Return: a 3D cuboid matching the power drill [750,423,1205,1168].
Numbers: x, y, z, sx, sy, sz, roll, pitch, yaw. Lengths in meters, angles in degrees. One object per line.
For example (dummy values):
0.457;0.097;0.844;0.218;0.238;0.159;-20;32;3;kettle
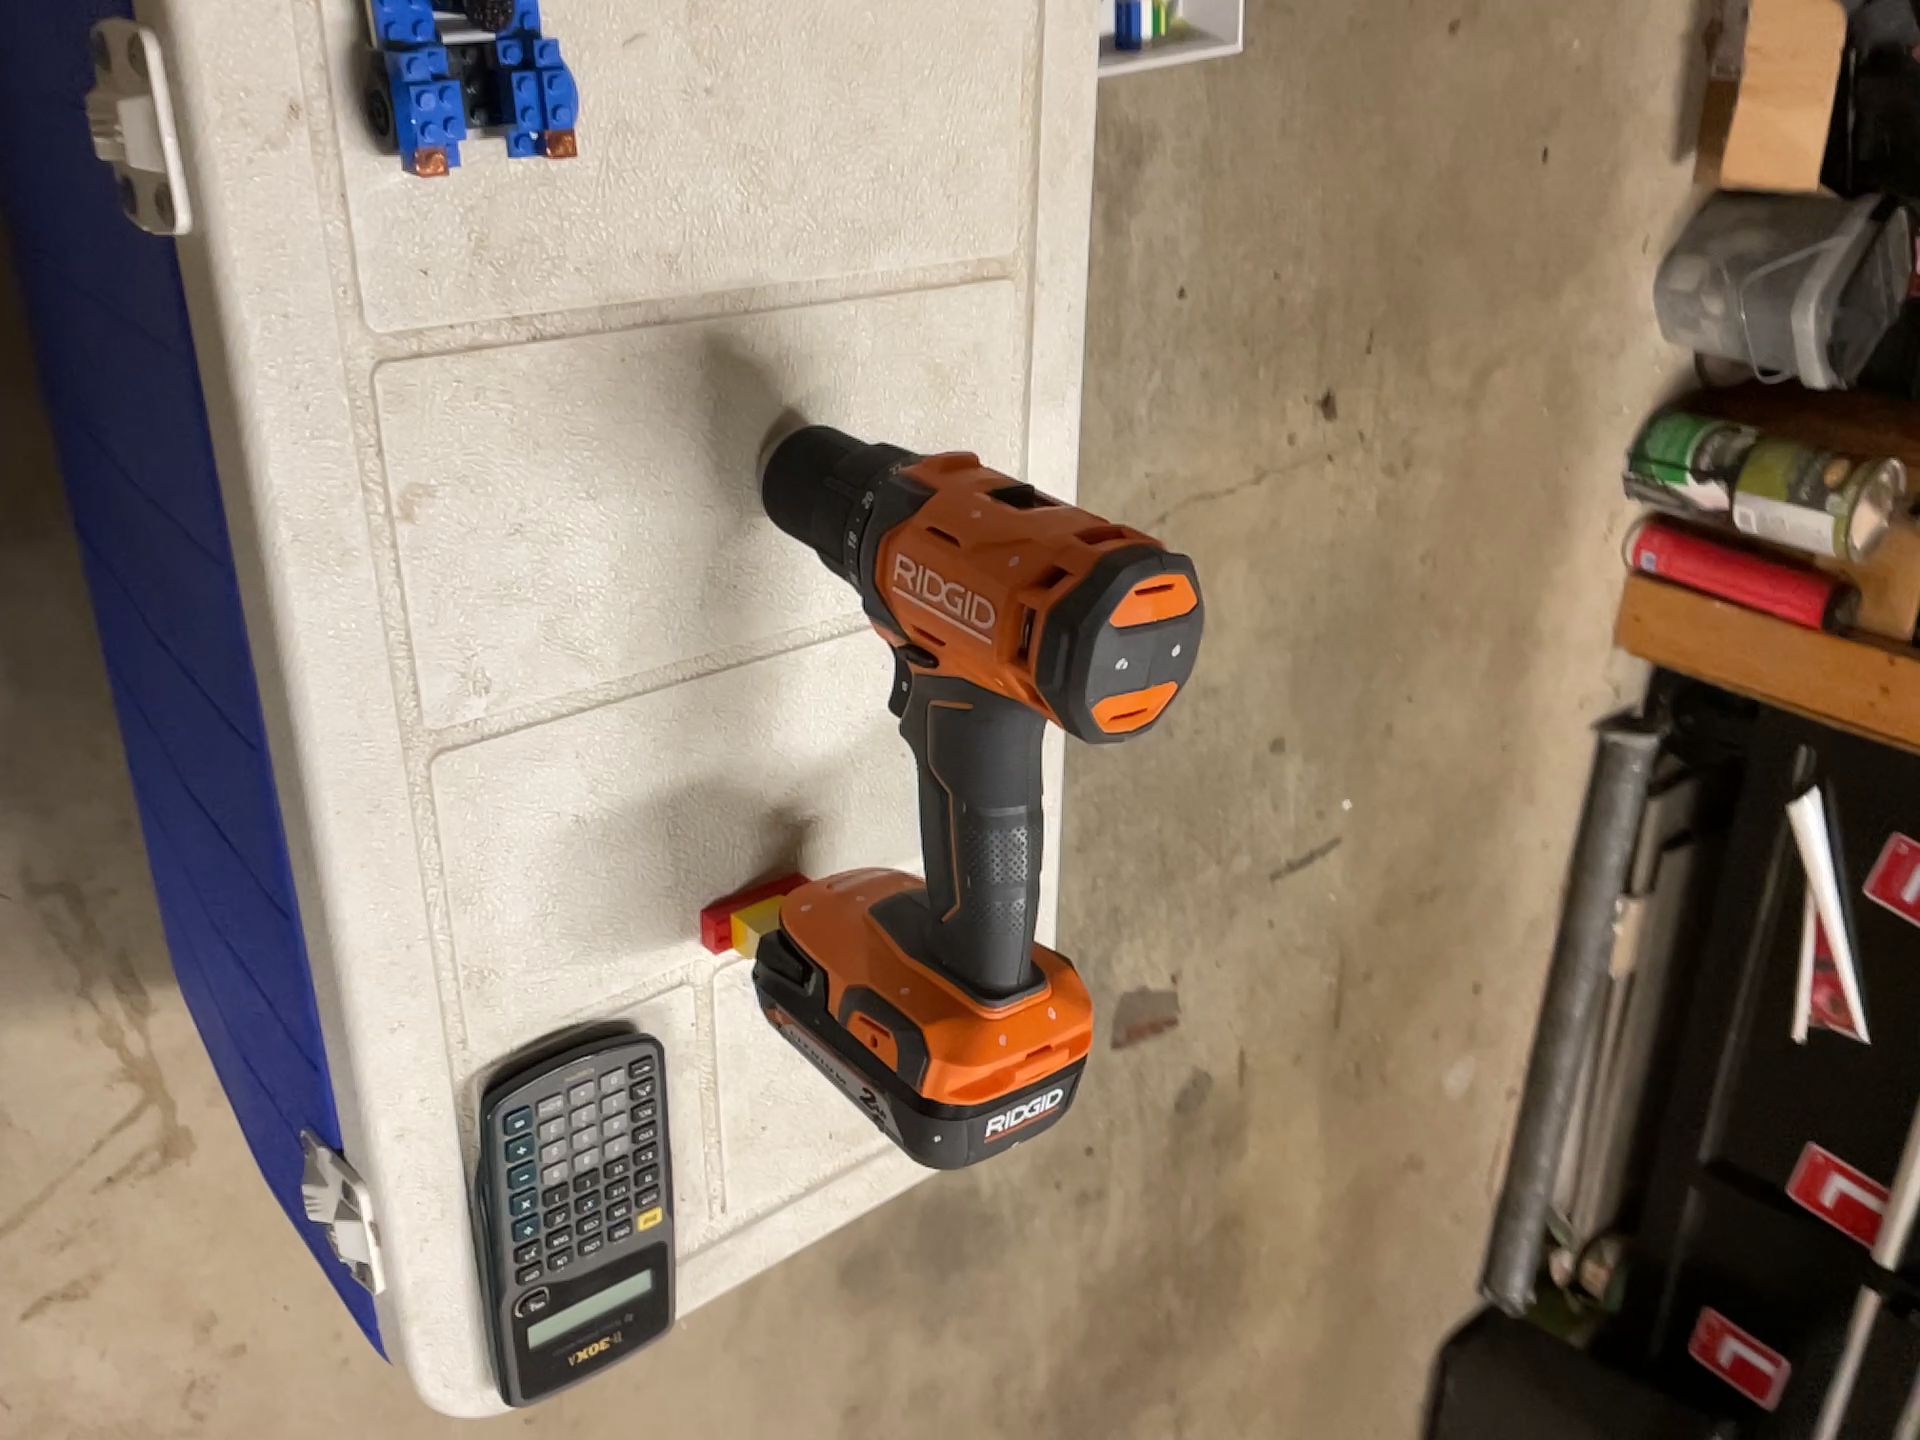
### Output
-0.017;0.015;0.558;0.084;0.185;0.226;-14;124;-41;power drill
